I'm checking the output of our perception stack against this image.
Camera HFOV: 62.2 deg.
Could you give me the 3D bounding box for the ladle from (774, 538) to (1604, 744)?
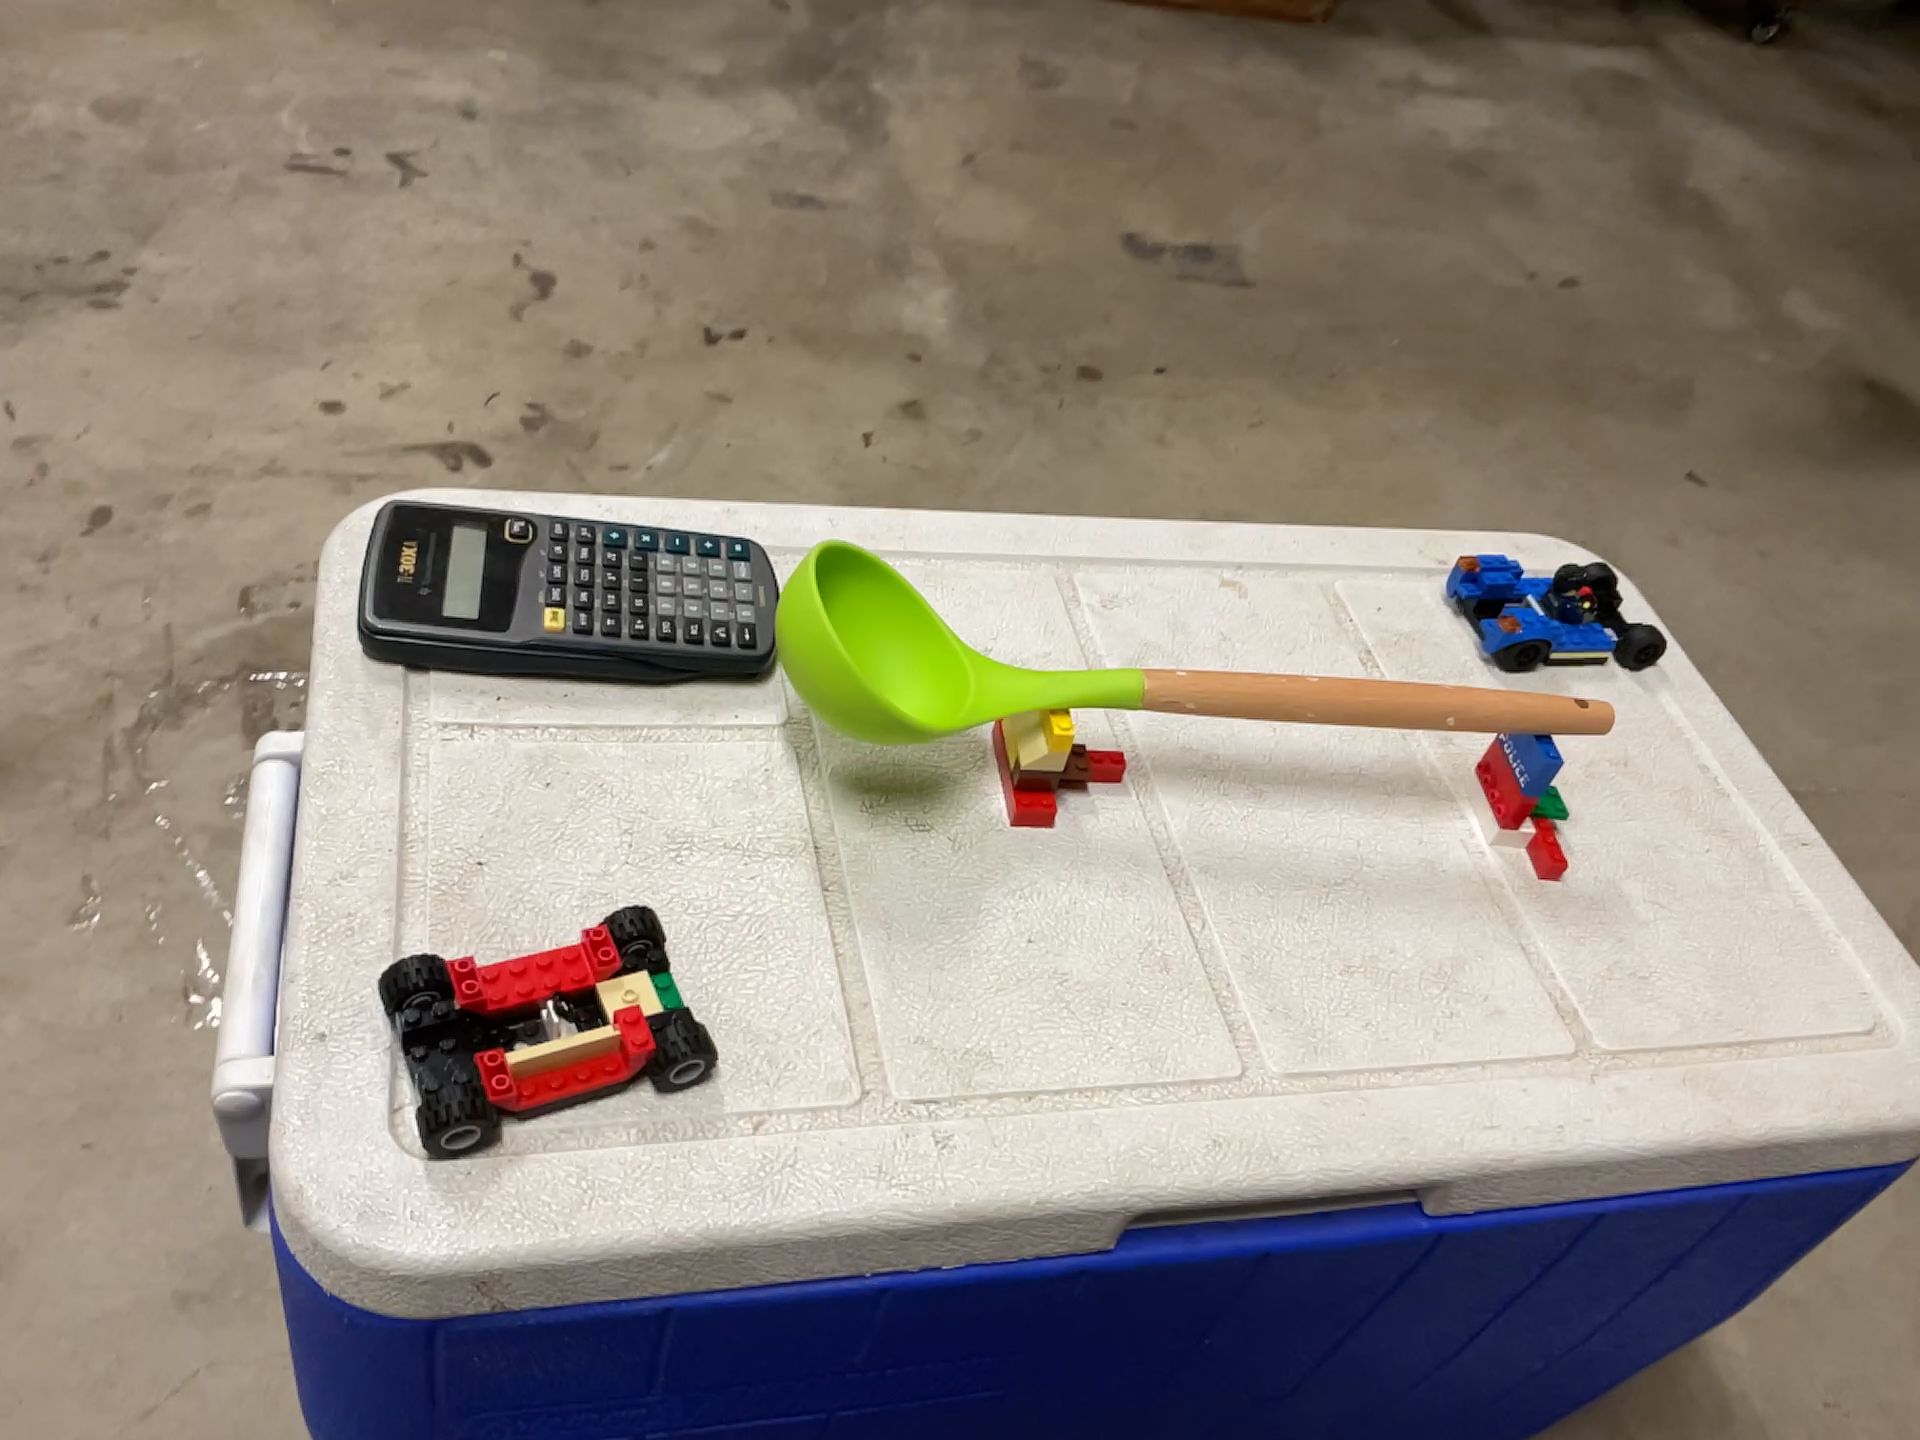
[{"bbox_3d":[0.092,-0.018,0.579,0.320,0.062,0.078,4,44,-11],"label":"ladle"}]
